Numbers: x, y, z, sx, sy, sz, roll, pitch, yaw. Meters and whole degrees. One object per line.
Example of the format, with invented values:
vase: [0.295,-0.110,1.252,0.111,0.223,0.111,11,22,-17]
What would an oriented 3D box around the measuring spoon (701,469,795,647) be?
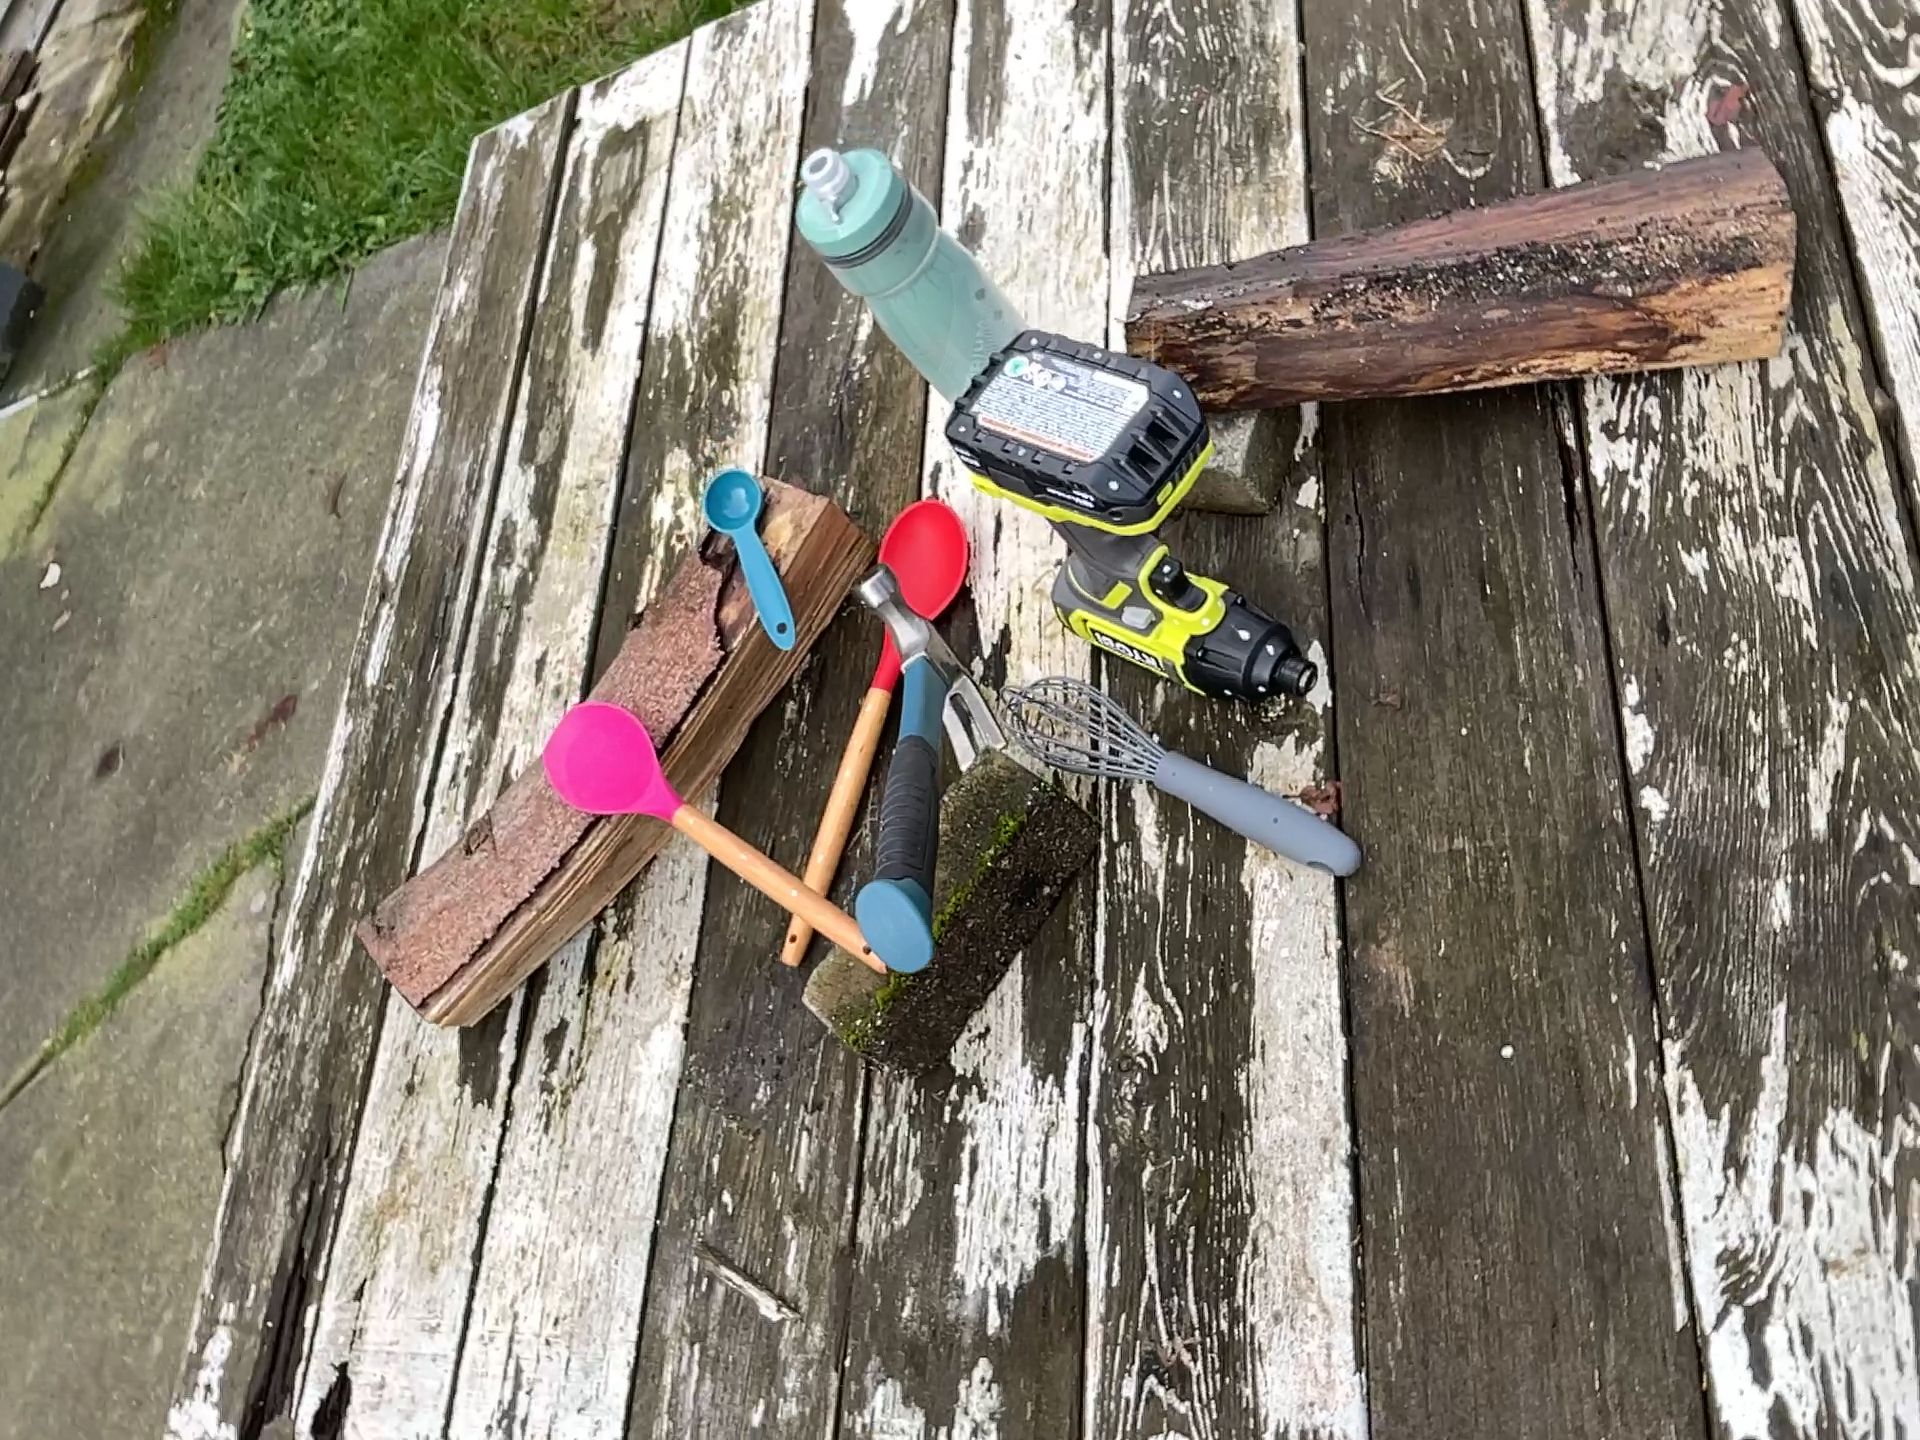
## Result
measuring spoon: [-0.131,-0.103,1.037,0.042,0.021,0.129,-28,76,18]

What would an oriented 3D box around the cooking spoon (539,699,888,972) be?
cooking spoon: [-0.154,0.067,0.958,0.319,0.017,0.069,30,83,35]

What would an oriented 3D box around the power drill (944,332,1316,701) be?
power drill: [0.098,-0.095,0.859,0.171,0.222,0.080,27,75,38]

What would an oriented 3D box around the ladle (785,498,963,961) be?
ladle: [-0.059,0.004,1.035,0.069,0.031,0.315,8,73,33]

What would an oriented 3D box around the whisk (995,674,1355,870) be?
whisk: [0.114,0.029,0.890,0.239,0.055,0.055,26,90,36]

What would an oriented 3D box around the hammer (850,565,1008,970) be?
hammer: [-0.024,0.025,0.873,0.033,0.128,0.331,-33,21,17]
